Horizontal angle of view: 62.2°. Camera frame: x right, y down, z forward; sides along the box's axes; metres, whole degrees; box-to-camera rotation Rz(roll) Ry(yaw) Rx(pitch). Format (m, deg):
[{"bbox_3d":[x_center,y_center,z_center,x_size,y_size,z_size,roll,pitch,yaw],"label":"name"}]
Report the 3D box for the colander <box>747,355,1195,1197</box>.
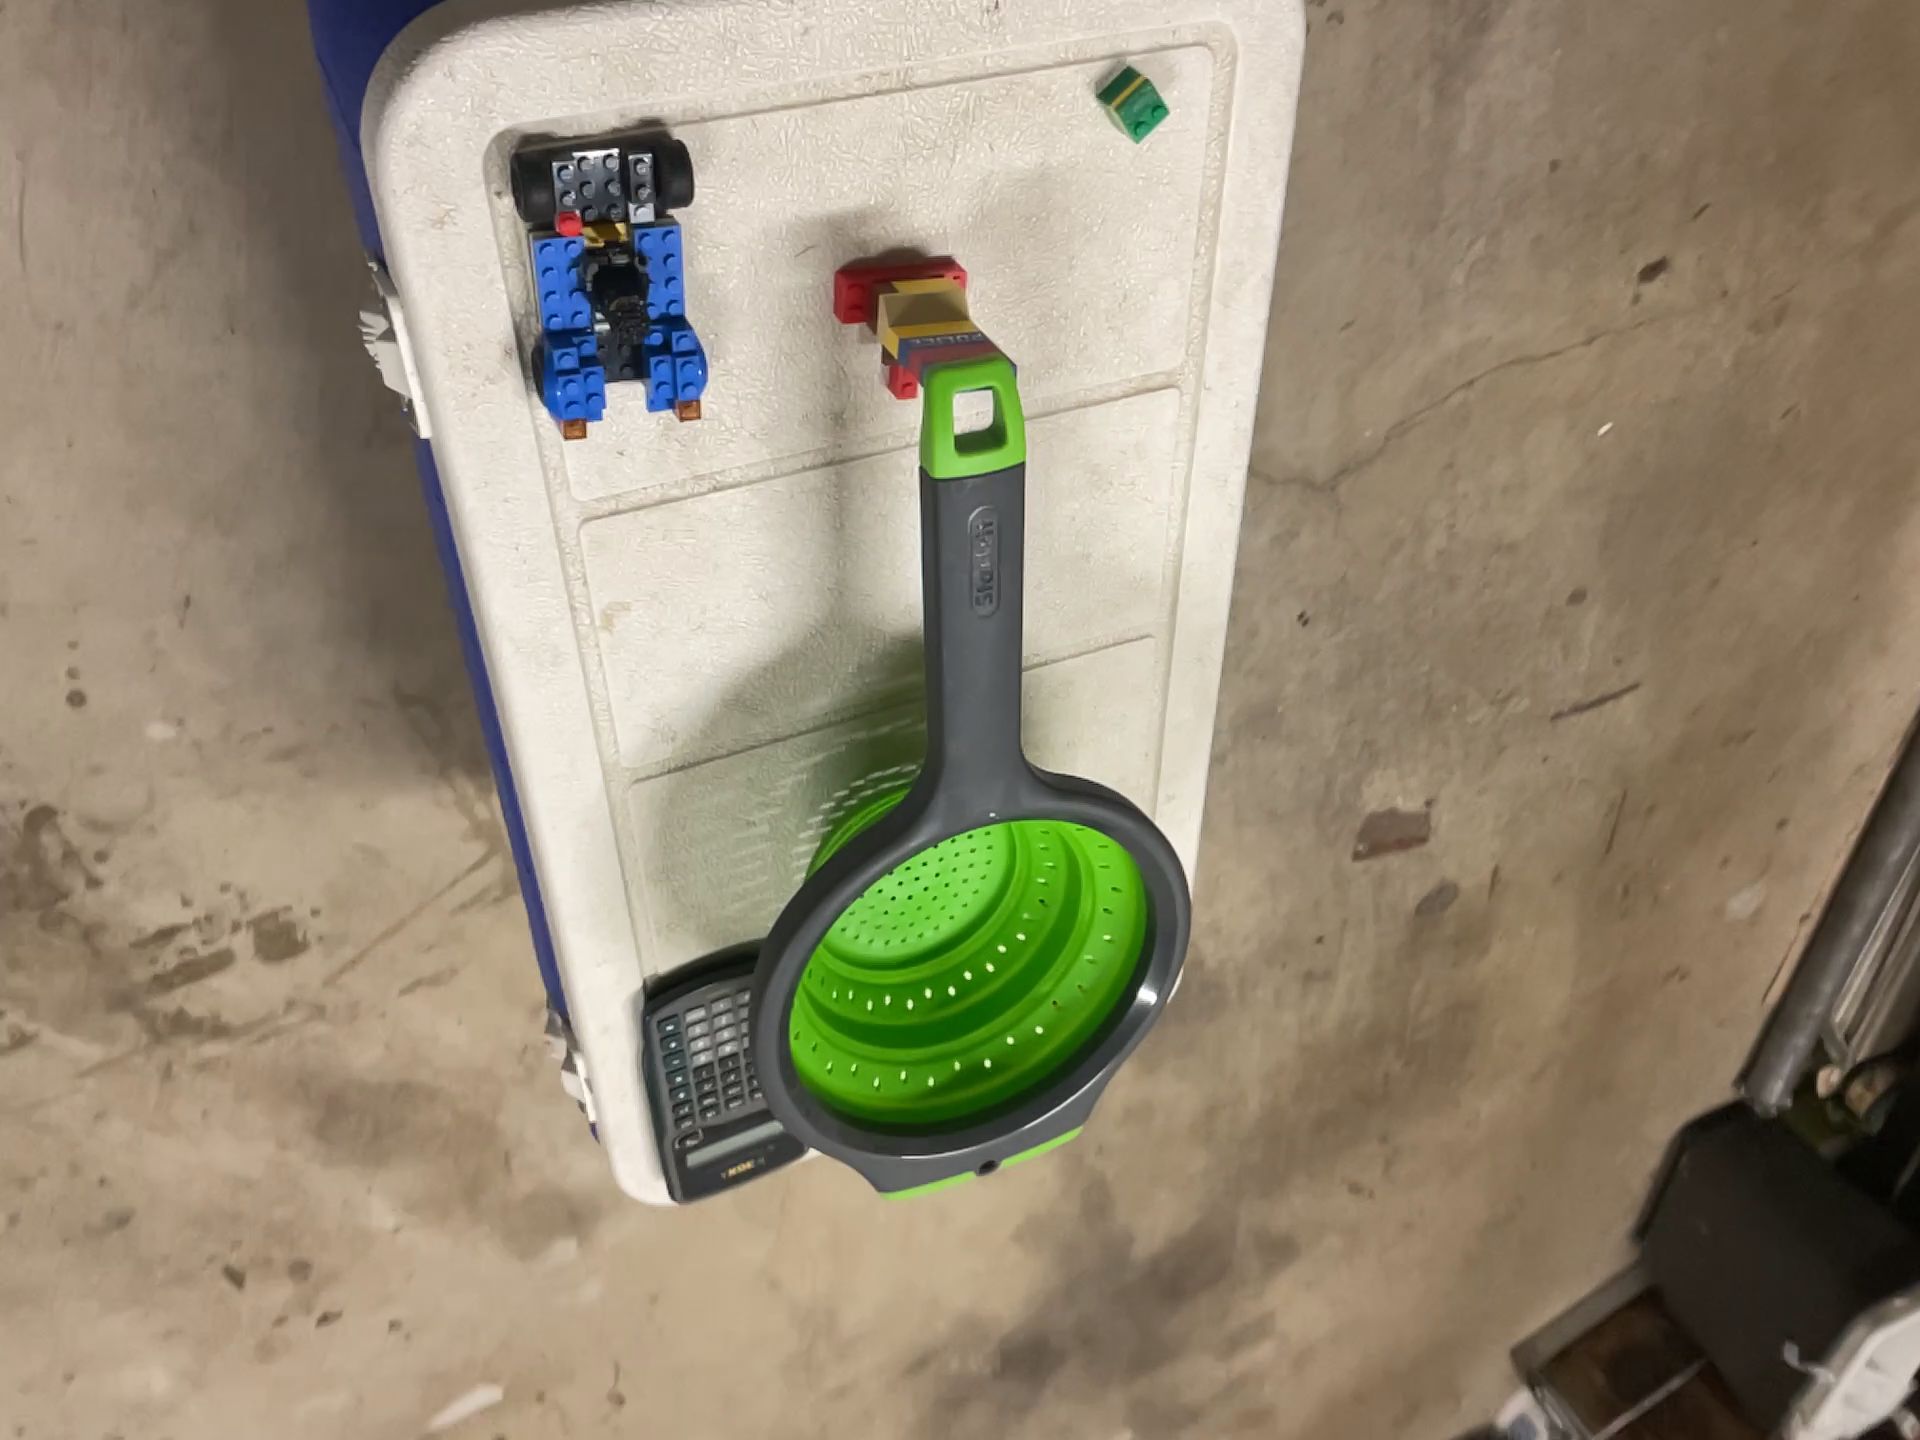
[{"bbox_3d":[-0.006,0.026,0.668,0.205,0.095,0.396,-13,126,-18],"label":"colander"}]
